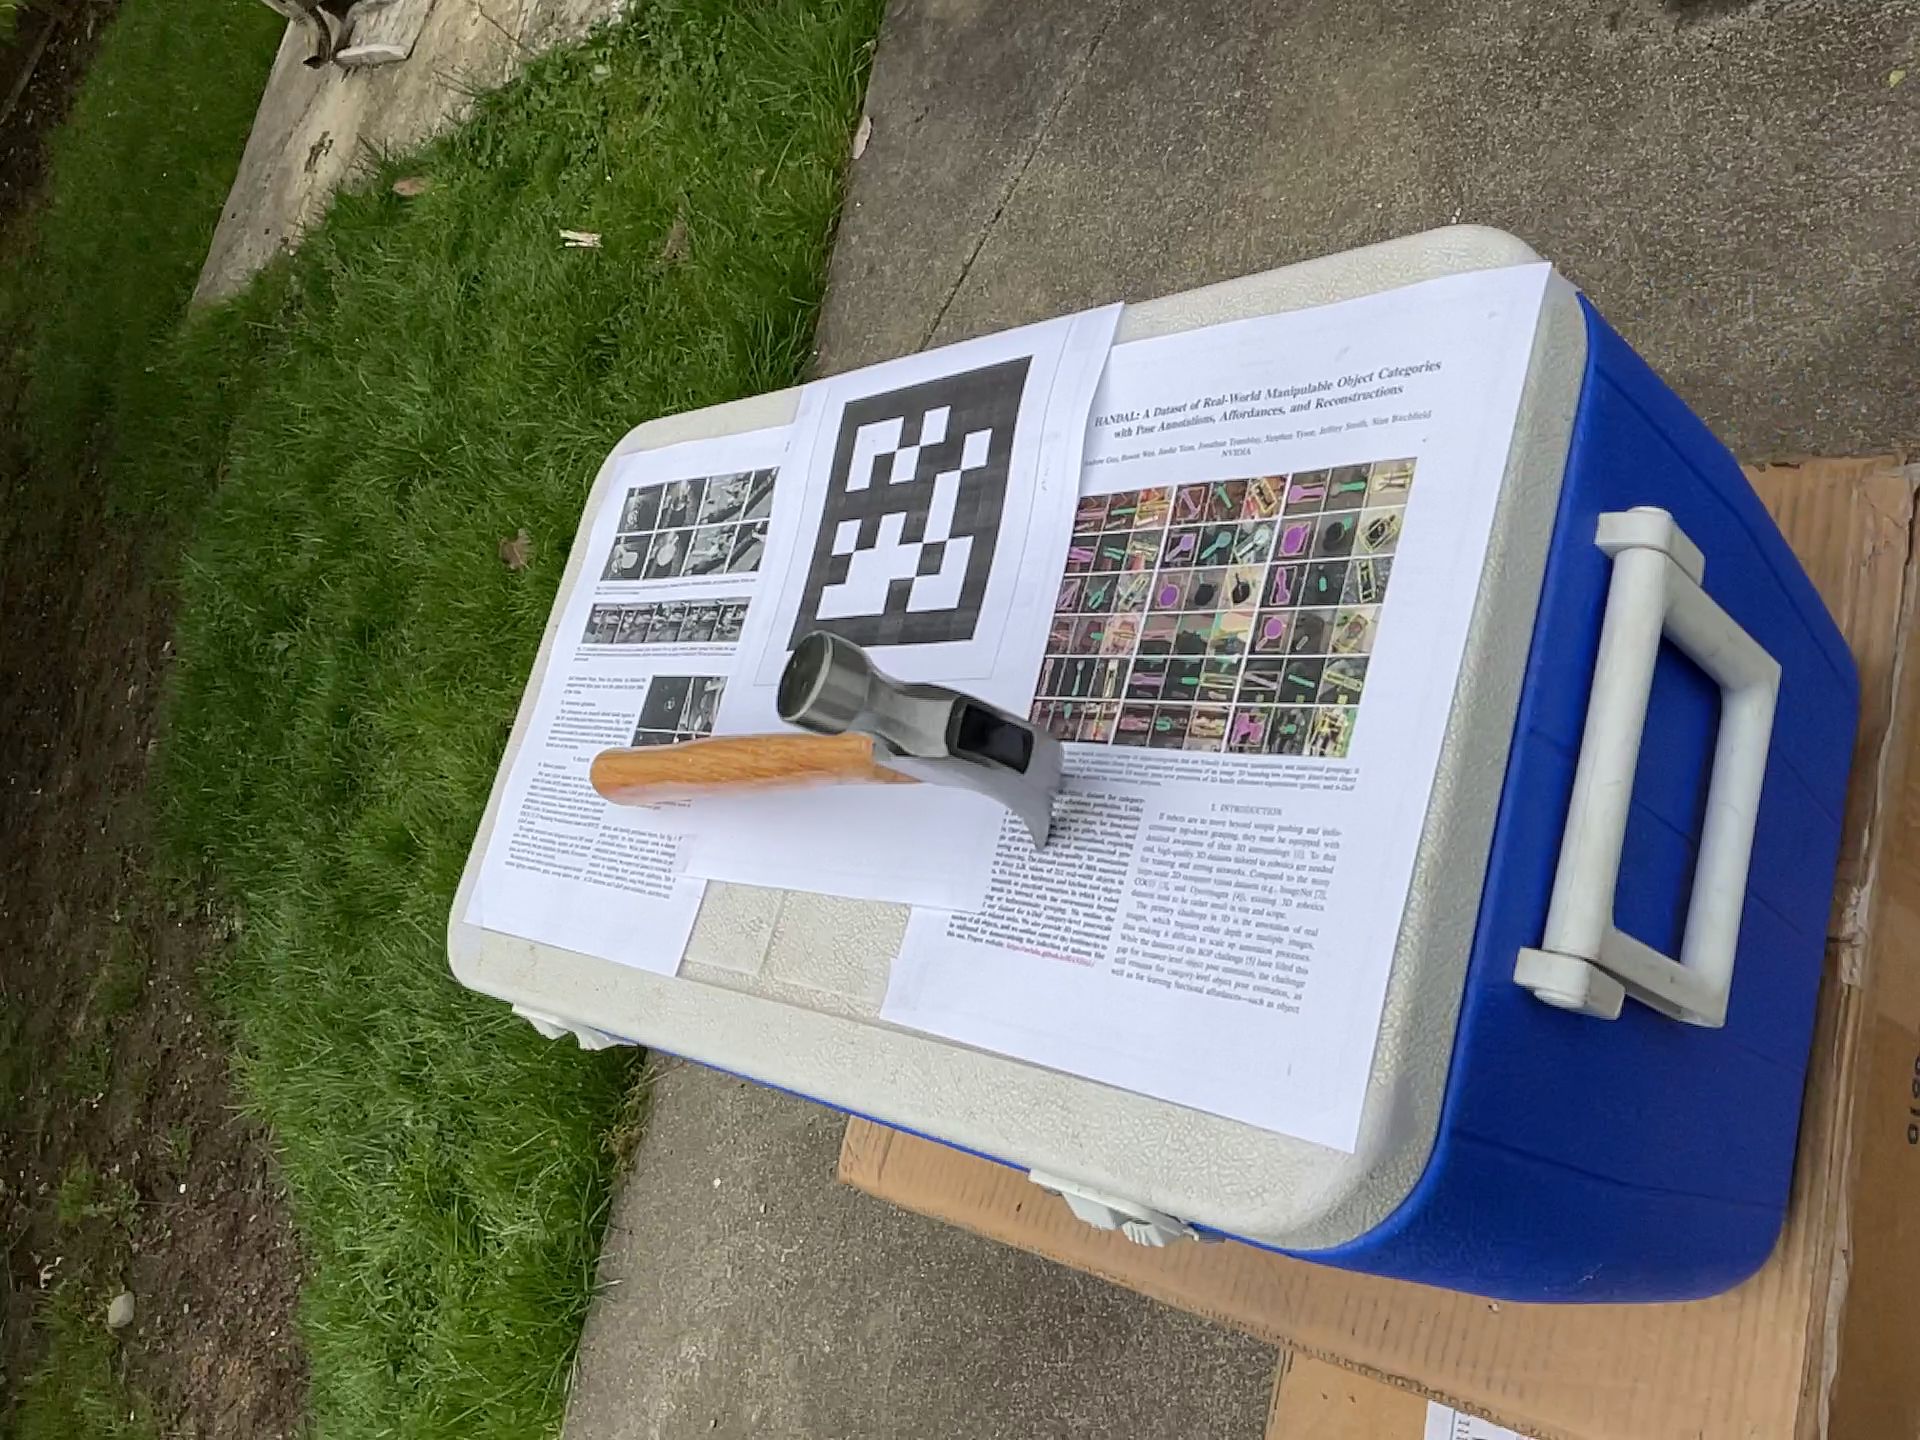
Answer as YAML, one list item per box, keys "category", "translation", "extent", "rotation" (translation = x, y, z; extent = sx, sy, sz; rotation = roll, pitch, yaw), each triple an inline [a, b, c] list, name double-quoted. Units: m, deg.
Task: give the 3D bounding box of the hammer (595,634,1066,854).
- category: "hammer"
  translation: [-0.074, 0.019, 0.648]
  extent: [0.332, 0.129, 0.031]
  rotation: [-7, 64, 58]
